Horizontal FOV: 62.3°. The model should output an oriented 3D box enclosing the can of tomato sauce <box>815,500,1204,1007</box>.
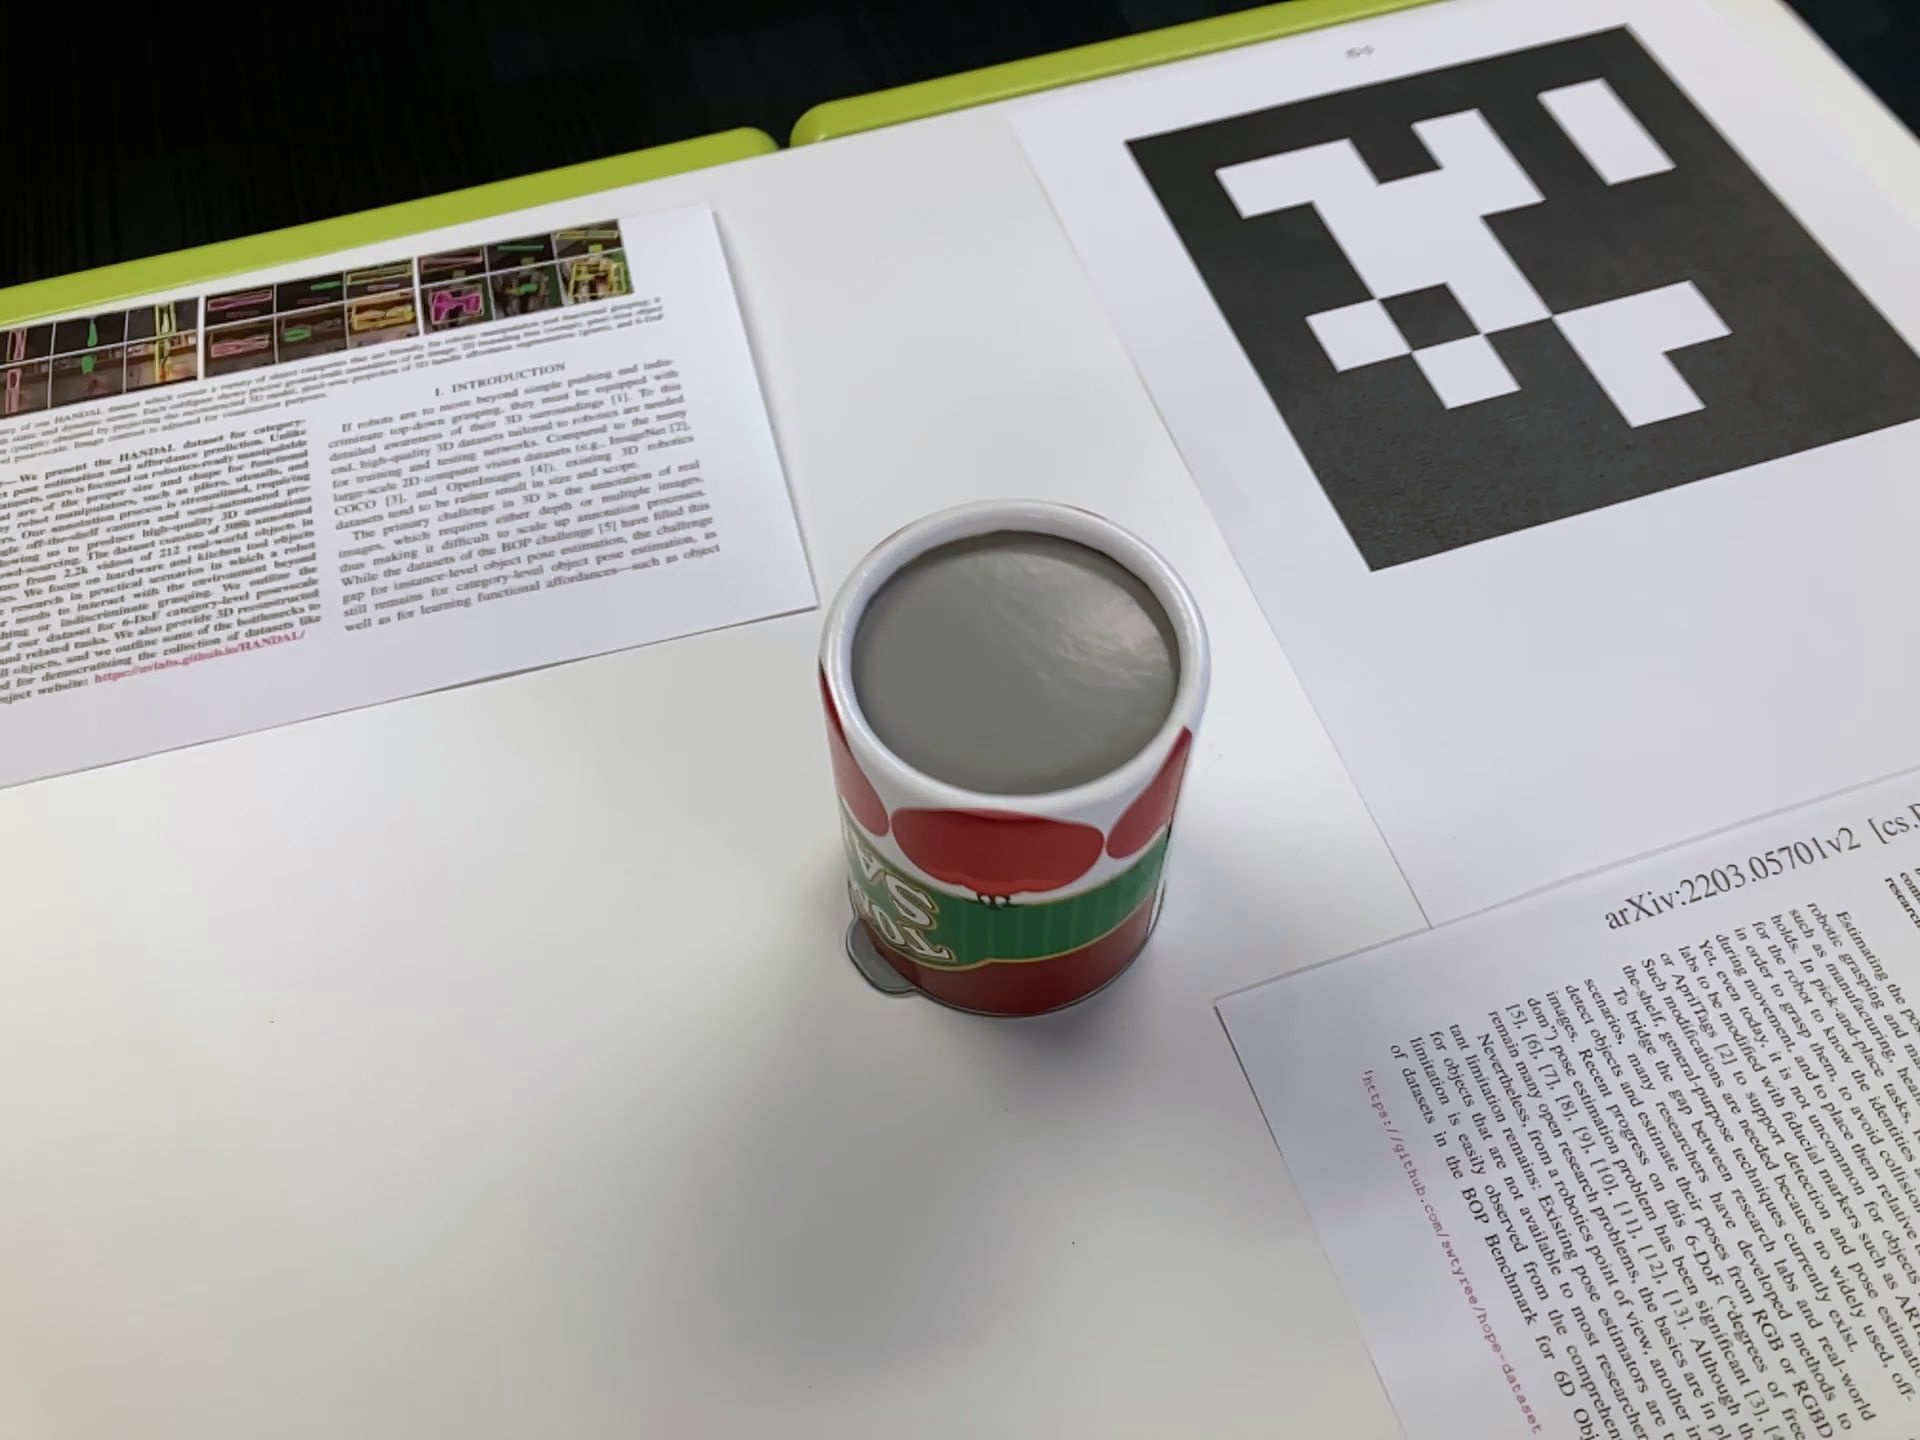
[{"bbox_3d":[0.007,0.009,0.301,0.071,0.083,0.071,0,60,1],"label":"can of tomato sauce"}]
